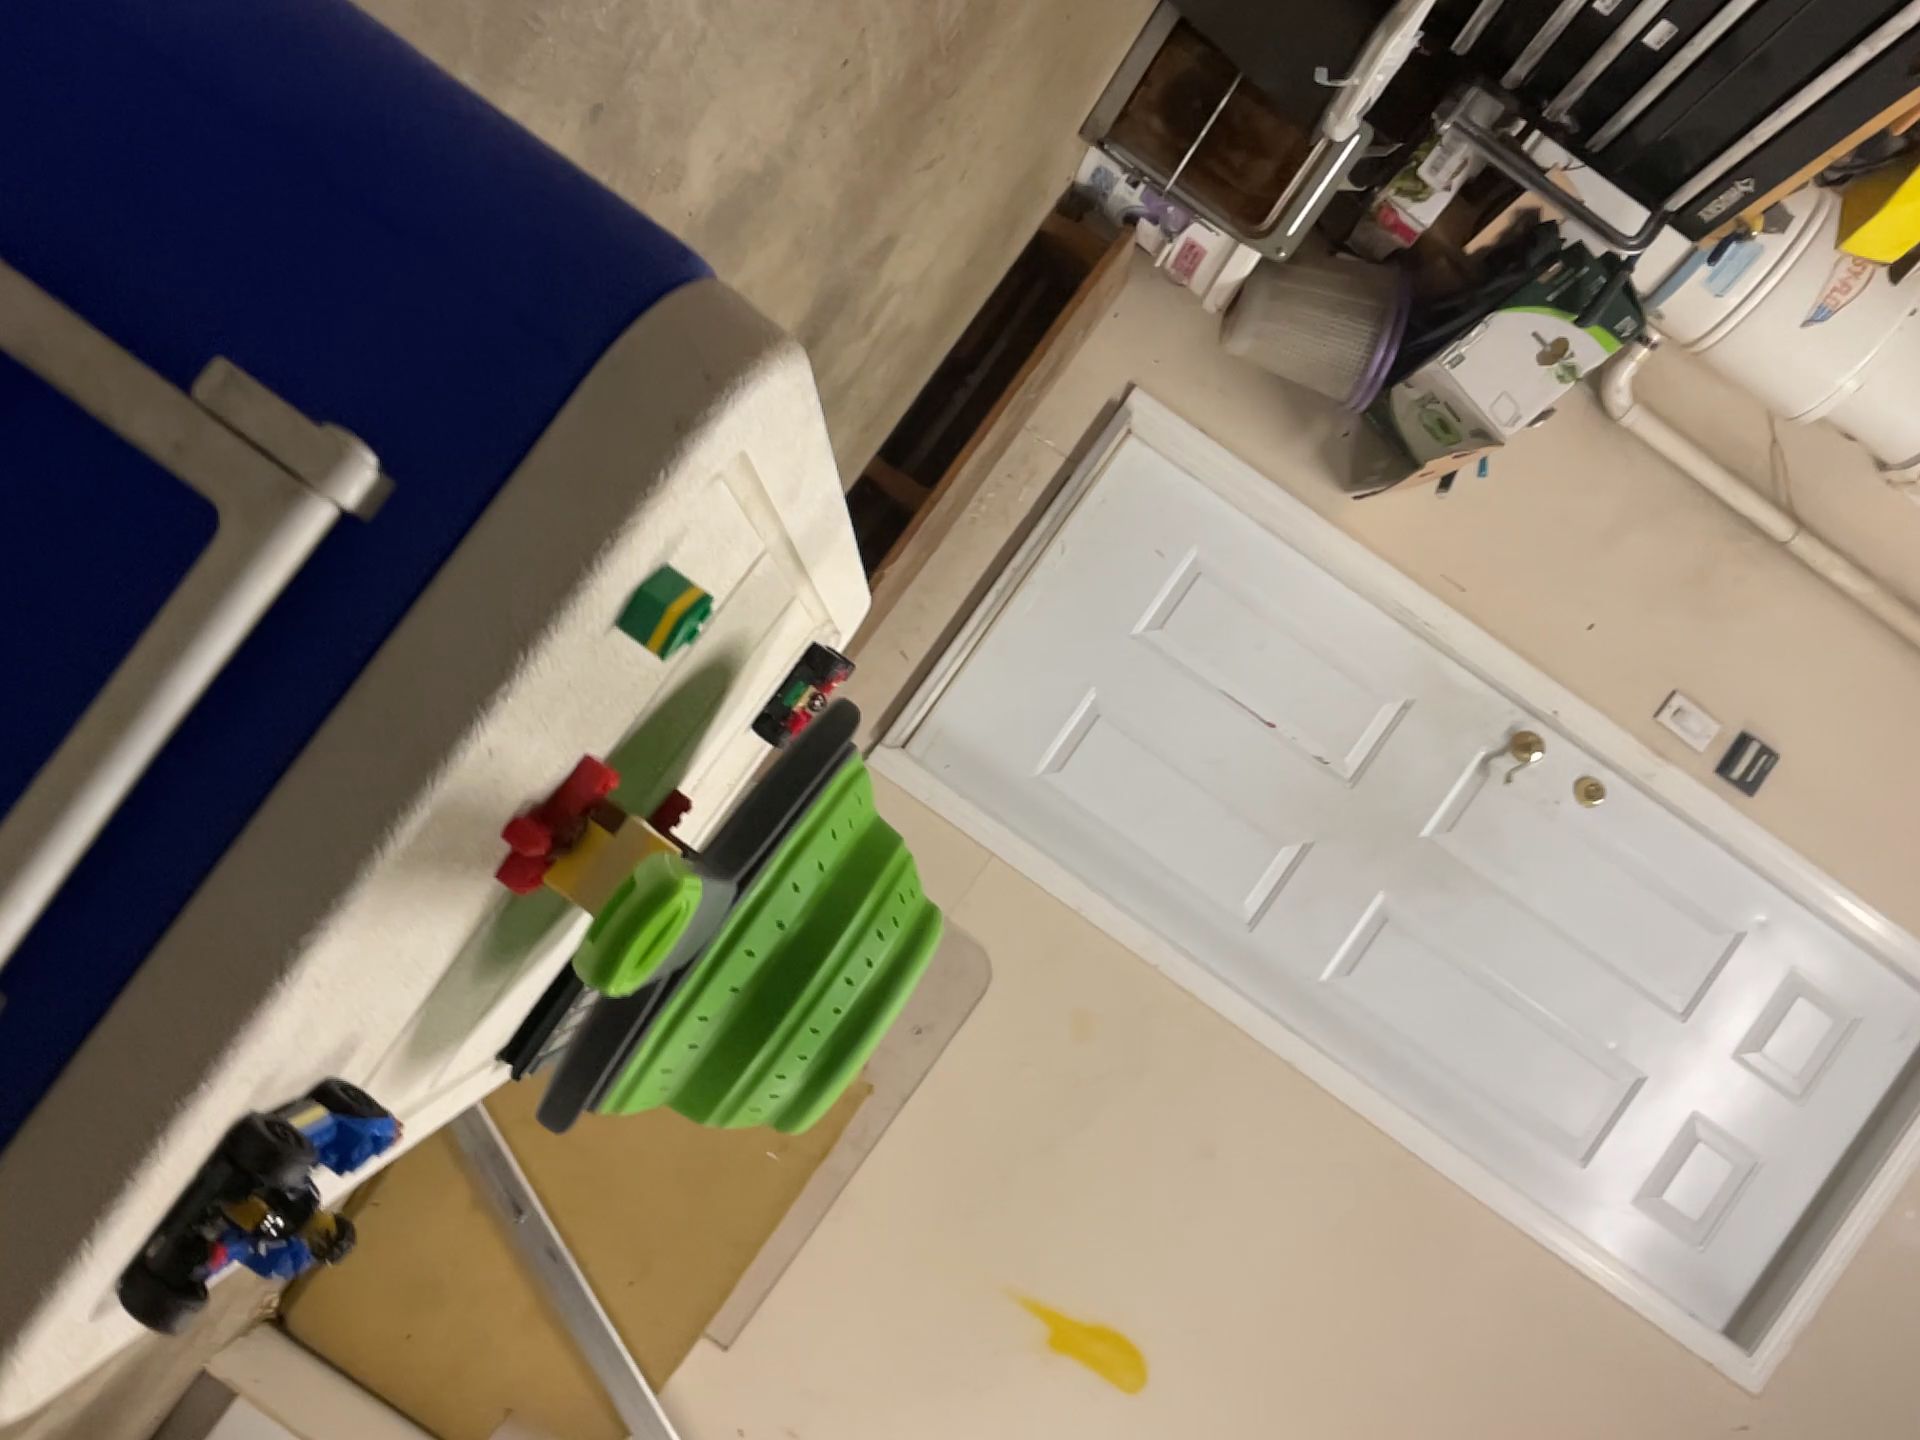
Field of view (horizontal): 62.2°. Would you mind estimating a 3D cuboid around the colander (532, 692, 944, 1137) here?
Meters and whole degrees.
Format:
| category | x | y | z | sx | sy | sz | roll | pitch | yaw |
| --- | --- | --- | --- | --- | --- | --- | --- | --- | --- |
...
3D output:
| category | x | y | z | sx | sy | sz | roll | pitch | yaw |
| --- | --- | --- | --- | --- | --- | --- | --- | --- | --- |
| colander | -0.065 | 0.088 | 0.559 | 0.204 | 0.094 | 0.397 | -55 | -179 | -8 |
